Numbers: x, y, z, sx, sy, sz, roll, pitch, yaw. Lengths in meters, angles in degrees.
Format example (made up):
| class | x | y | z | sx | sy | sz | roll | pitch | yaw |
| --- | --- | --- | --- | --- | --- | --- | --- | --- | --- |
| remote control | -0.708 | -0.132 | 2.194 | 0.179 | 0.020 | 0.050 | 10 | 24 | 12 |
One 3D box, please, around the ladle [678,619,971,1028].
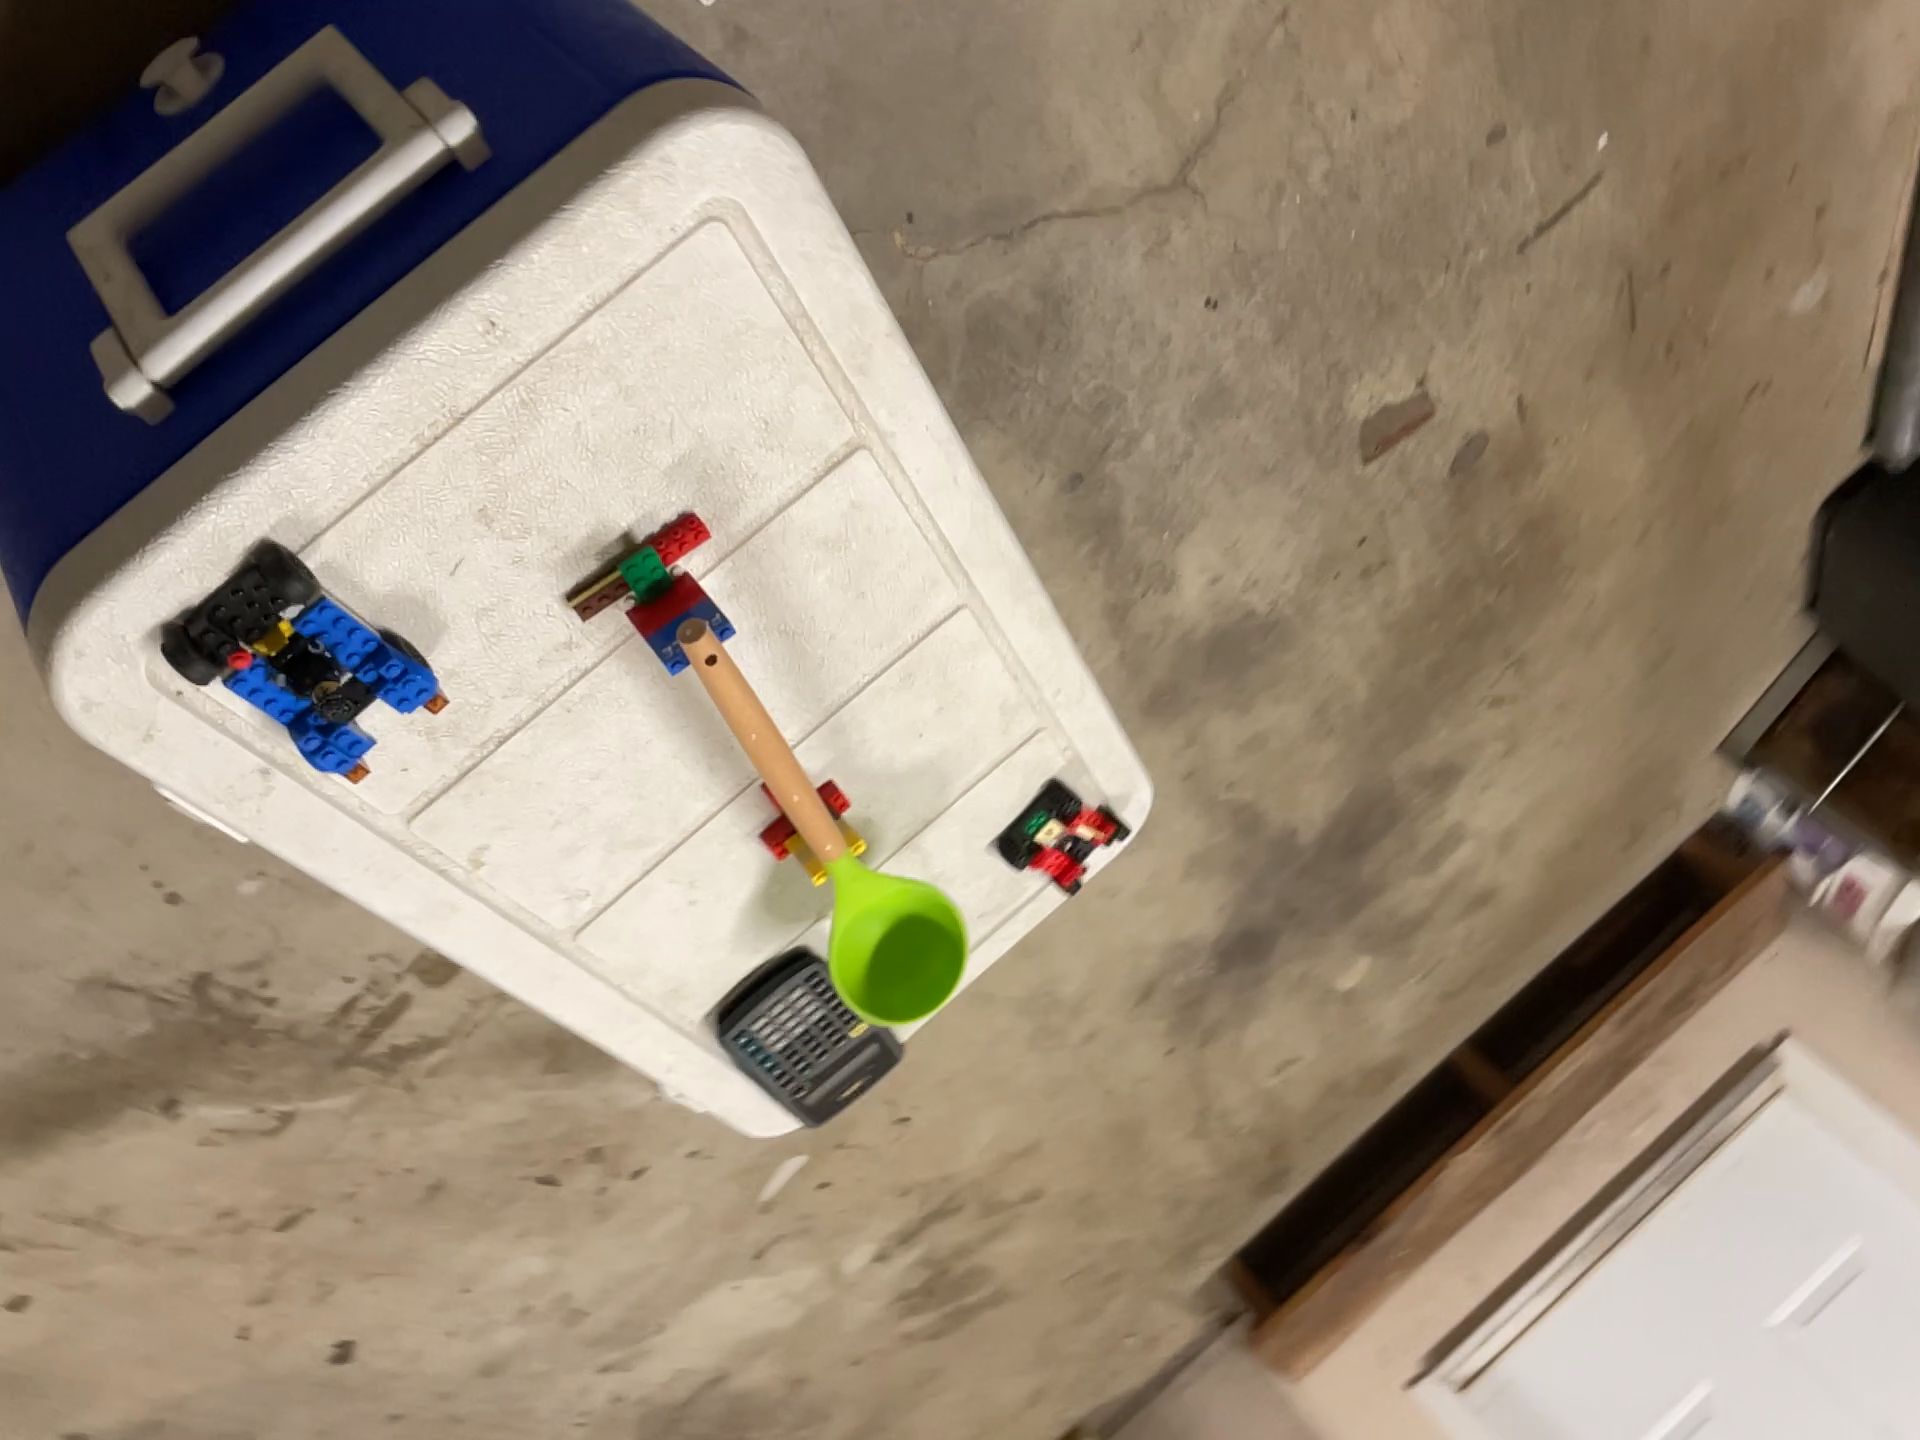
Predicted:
| class | x | y | z | sx | sy | sz | roll | pitch | yaw |
| --- | --- | --- | --- | --- | --- | --- | --- | --- | --- |
| ladle | -0.063 | 0.057 | 0.754 | 0.078 | 0.062 | 0.319 | -36 | 145 | -9 |
